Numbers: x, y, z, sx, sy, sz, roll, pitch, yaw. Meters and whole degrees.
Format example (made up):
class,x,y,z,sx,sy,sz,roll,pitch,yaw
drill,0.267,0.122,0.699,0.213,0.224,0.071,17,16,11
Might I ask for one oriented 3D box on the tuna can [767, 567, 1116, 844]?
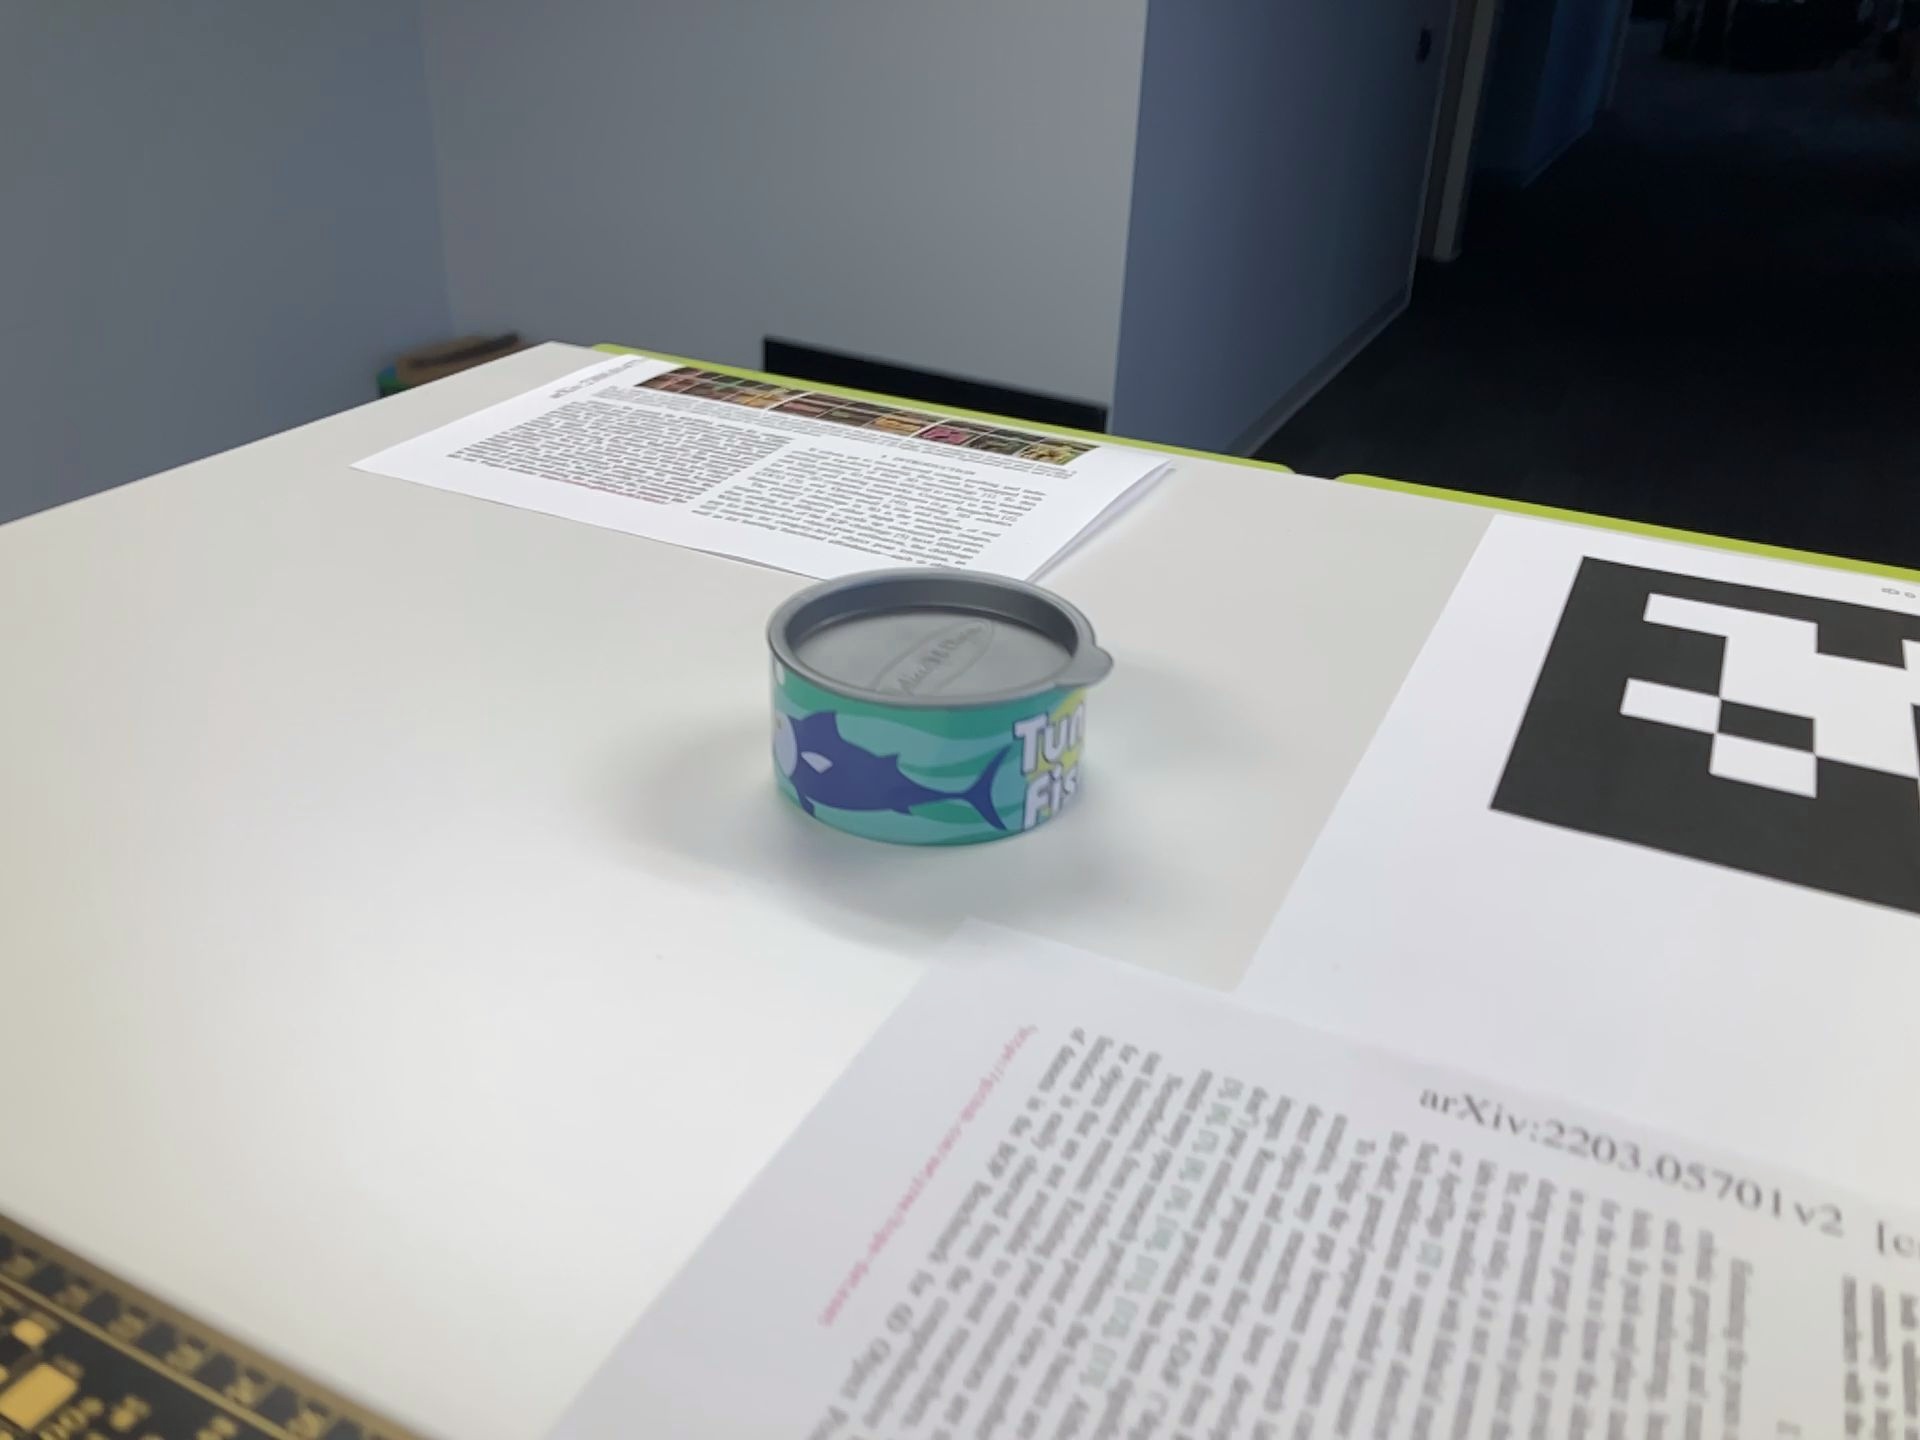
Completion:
class,x,y,z,sx,sy,sz,roll,pitch,yaw
tuna can,-0.004,-0.004,0.323,0.071,0.033,0.071,2,27,-1
